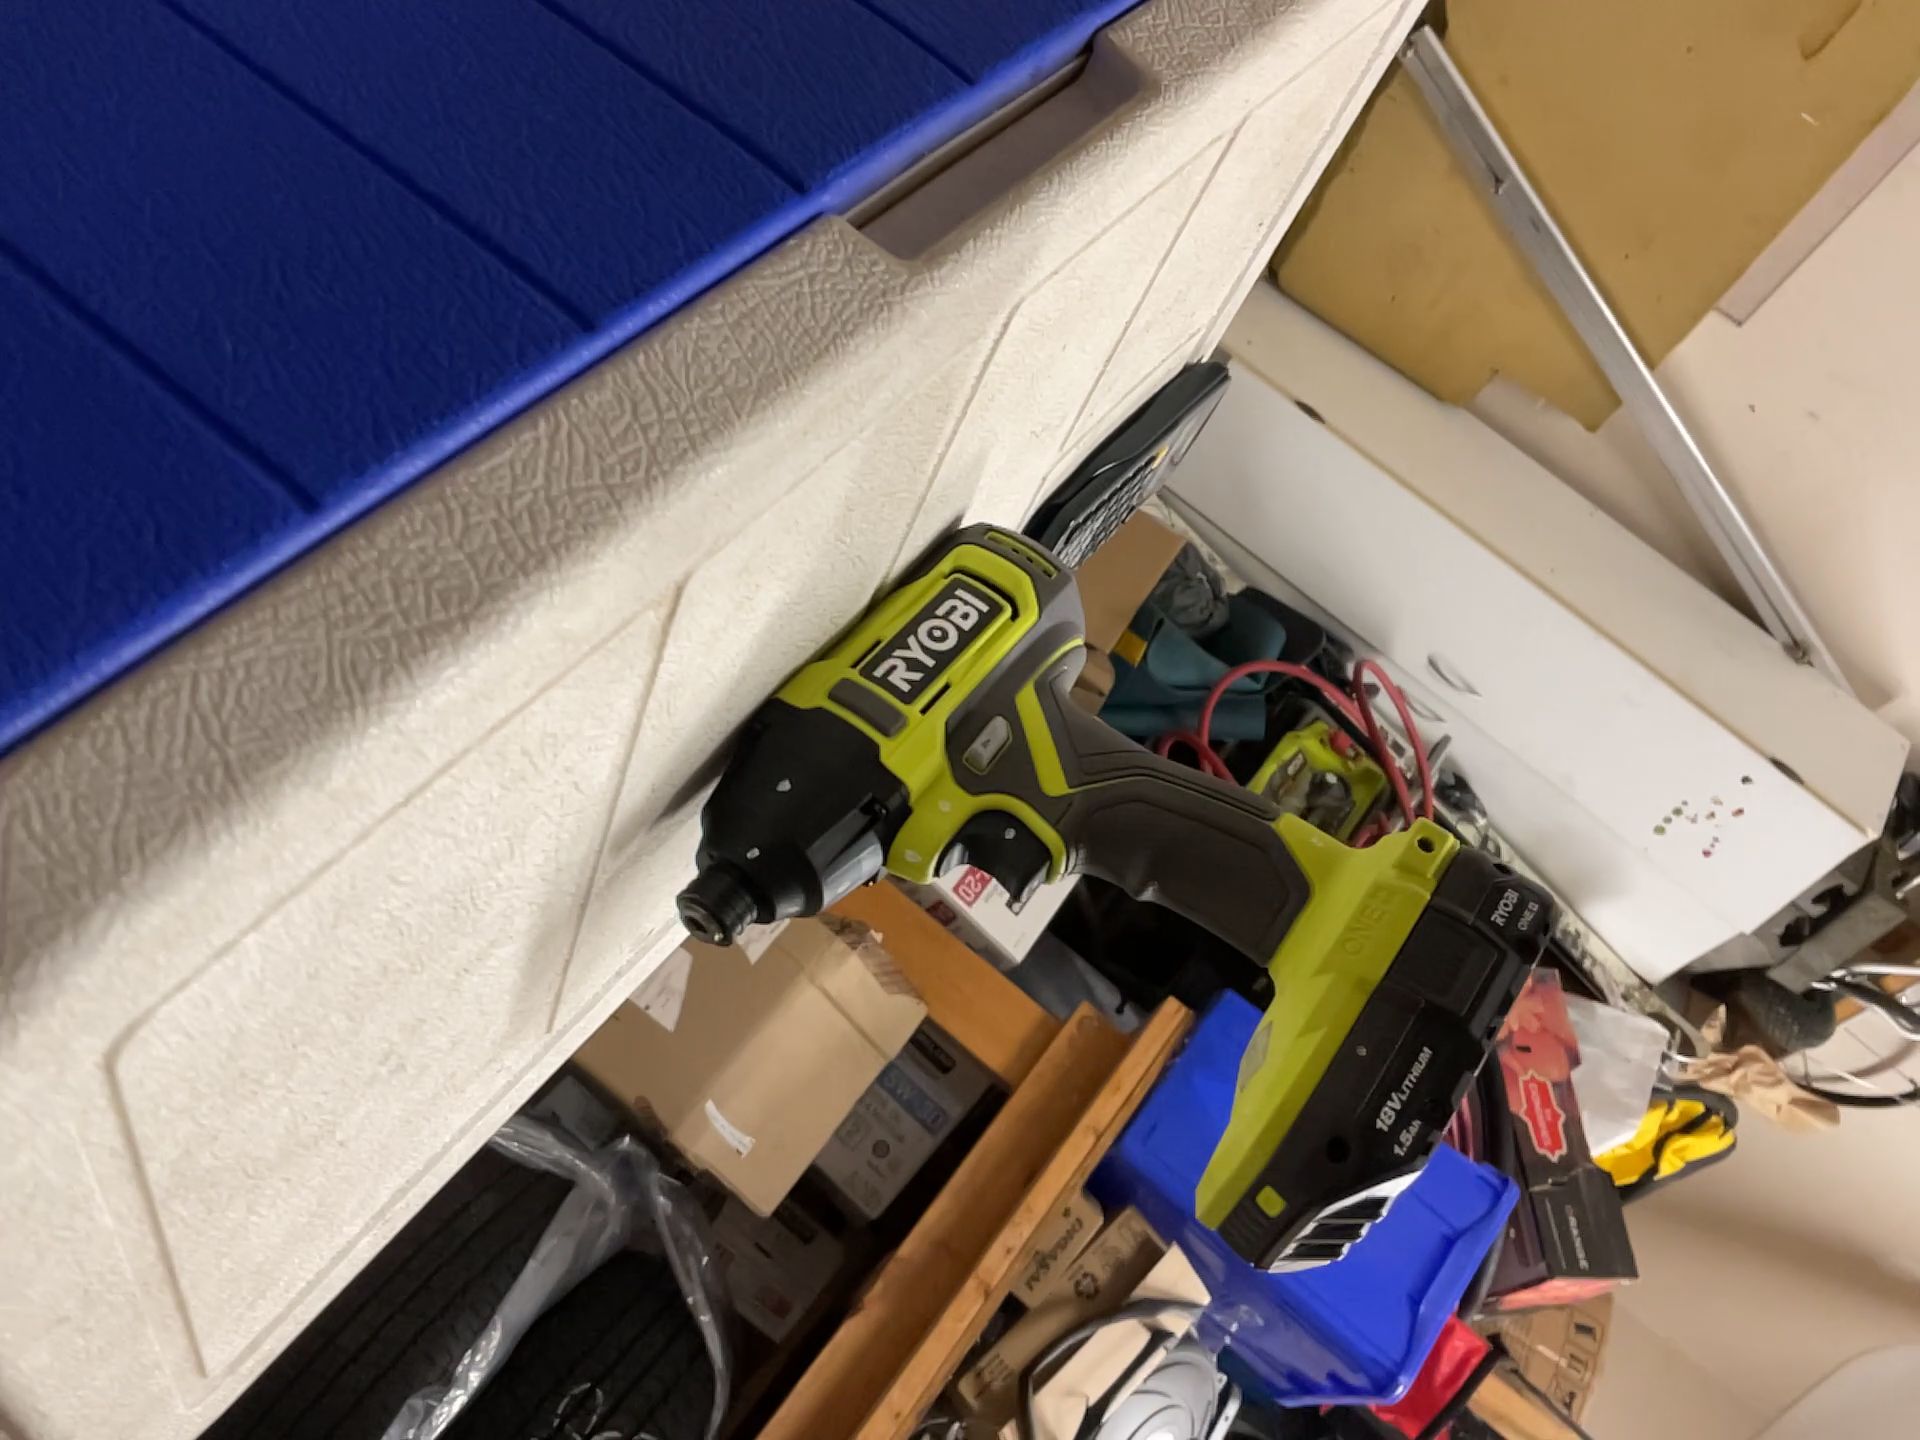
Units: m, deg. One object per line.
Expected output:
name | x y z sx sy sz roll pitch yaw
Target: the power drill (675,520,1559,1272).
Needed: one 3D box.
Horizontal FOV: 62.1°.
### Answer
power drill | 0.042 0.050 0.473 0.171 0.223 0.080 -47 163 -35
